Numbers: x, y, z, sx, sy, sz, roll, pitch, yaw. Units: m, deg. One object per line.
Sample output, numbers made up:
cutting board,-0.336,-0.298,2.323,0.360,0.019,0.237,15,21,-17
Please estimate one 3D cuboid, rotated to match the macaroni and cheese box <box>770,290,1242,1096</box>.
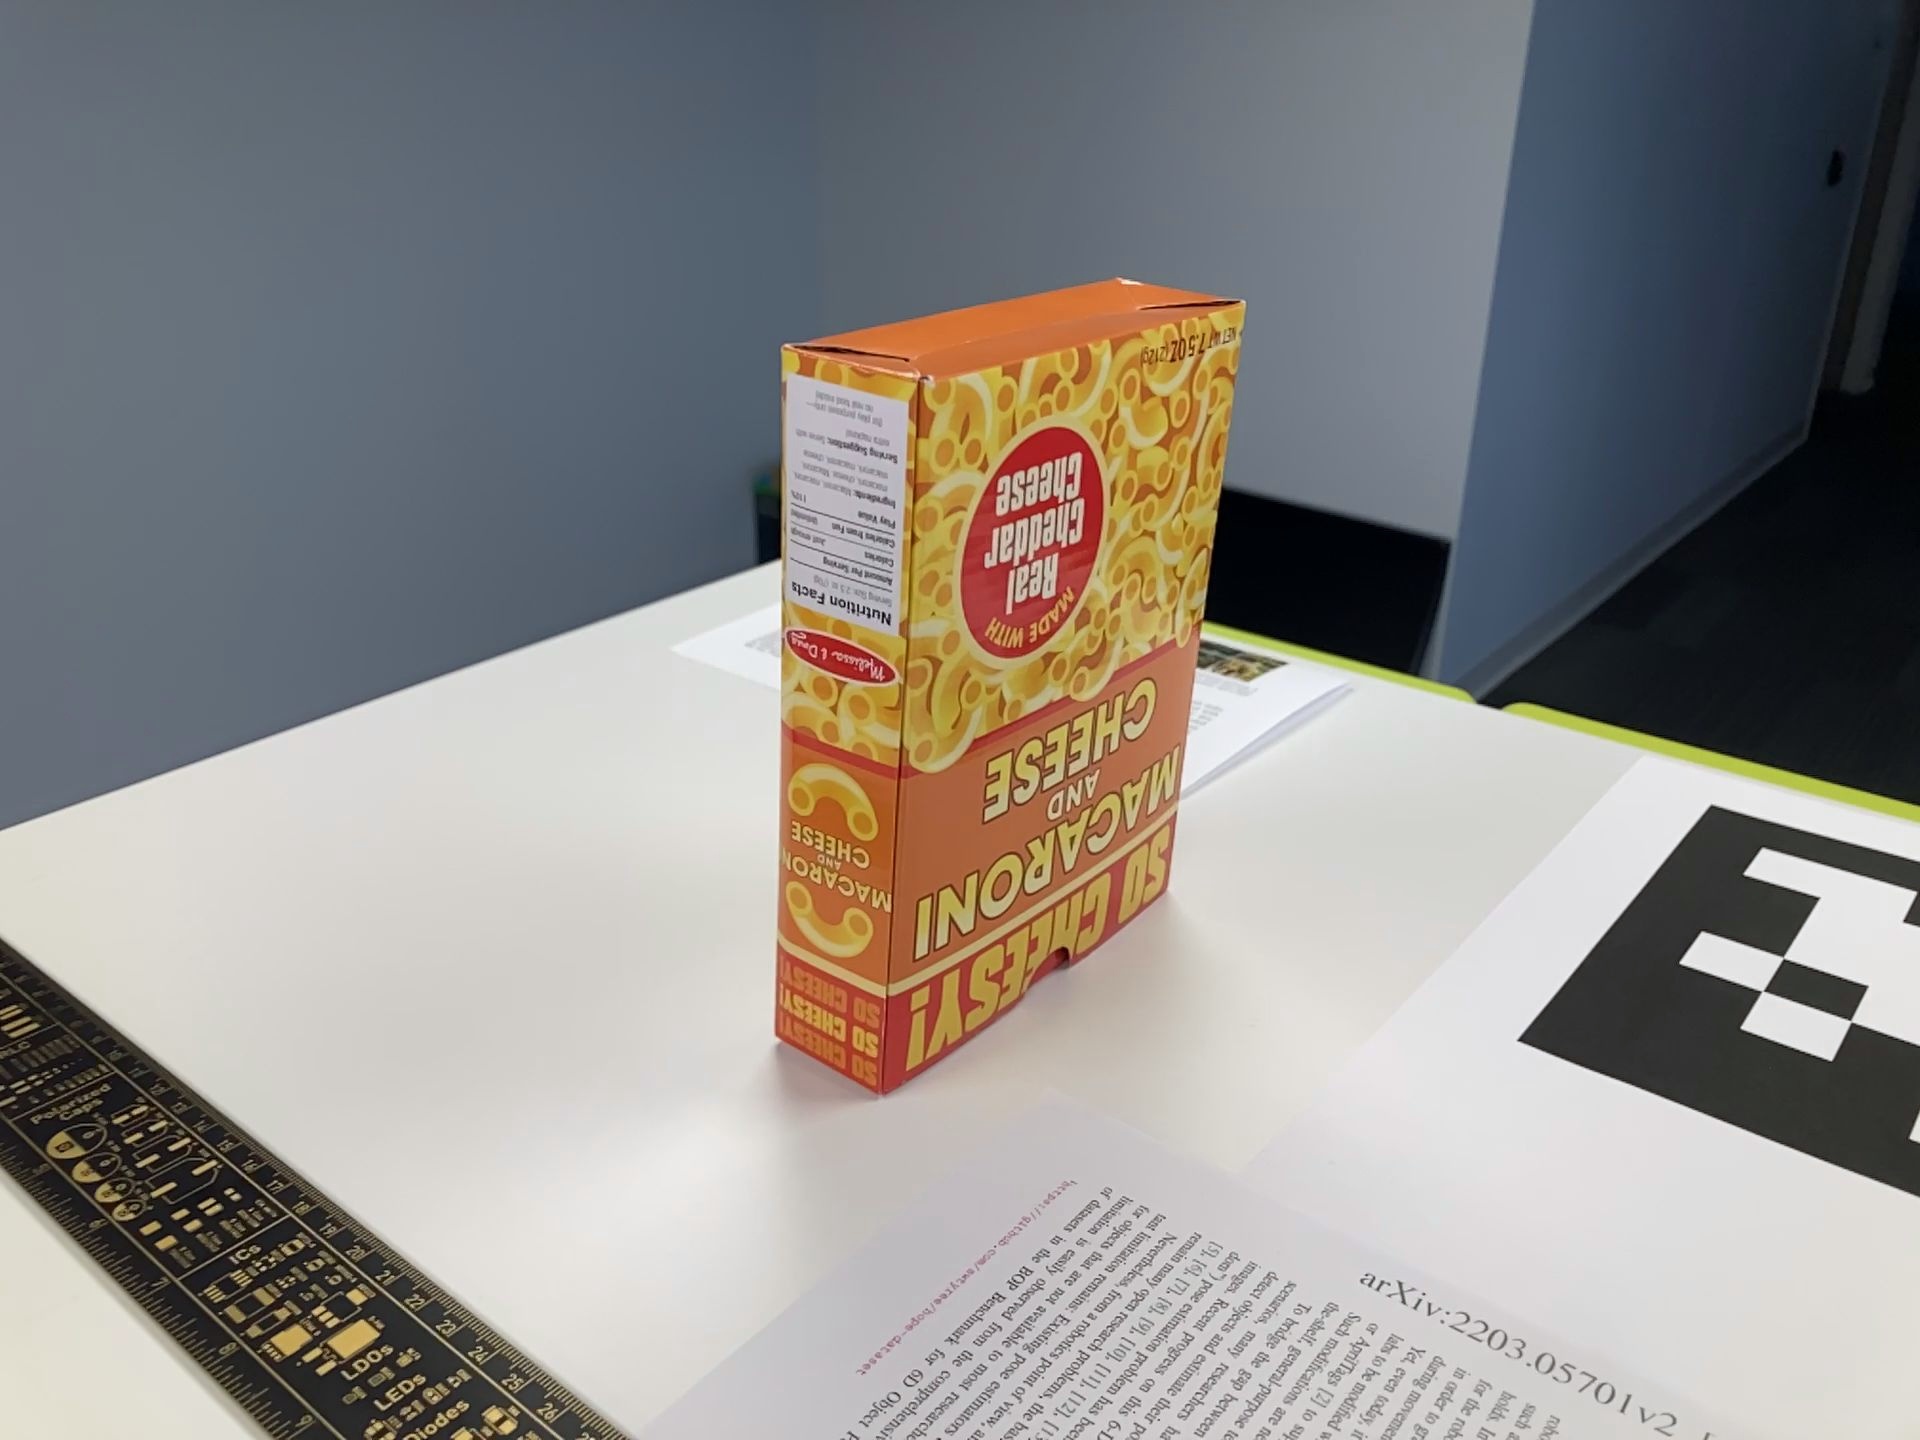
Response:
macaroni and cheese box,0.011,-0.010,0.382,0.040,0.166,0.124,21,30,33
